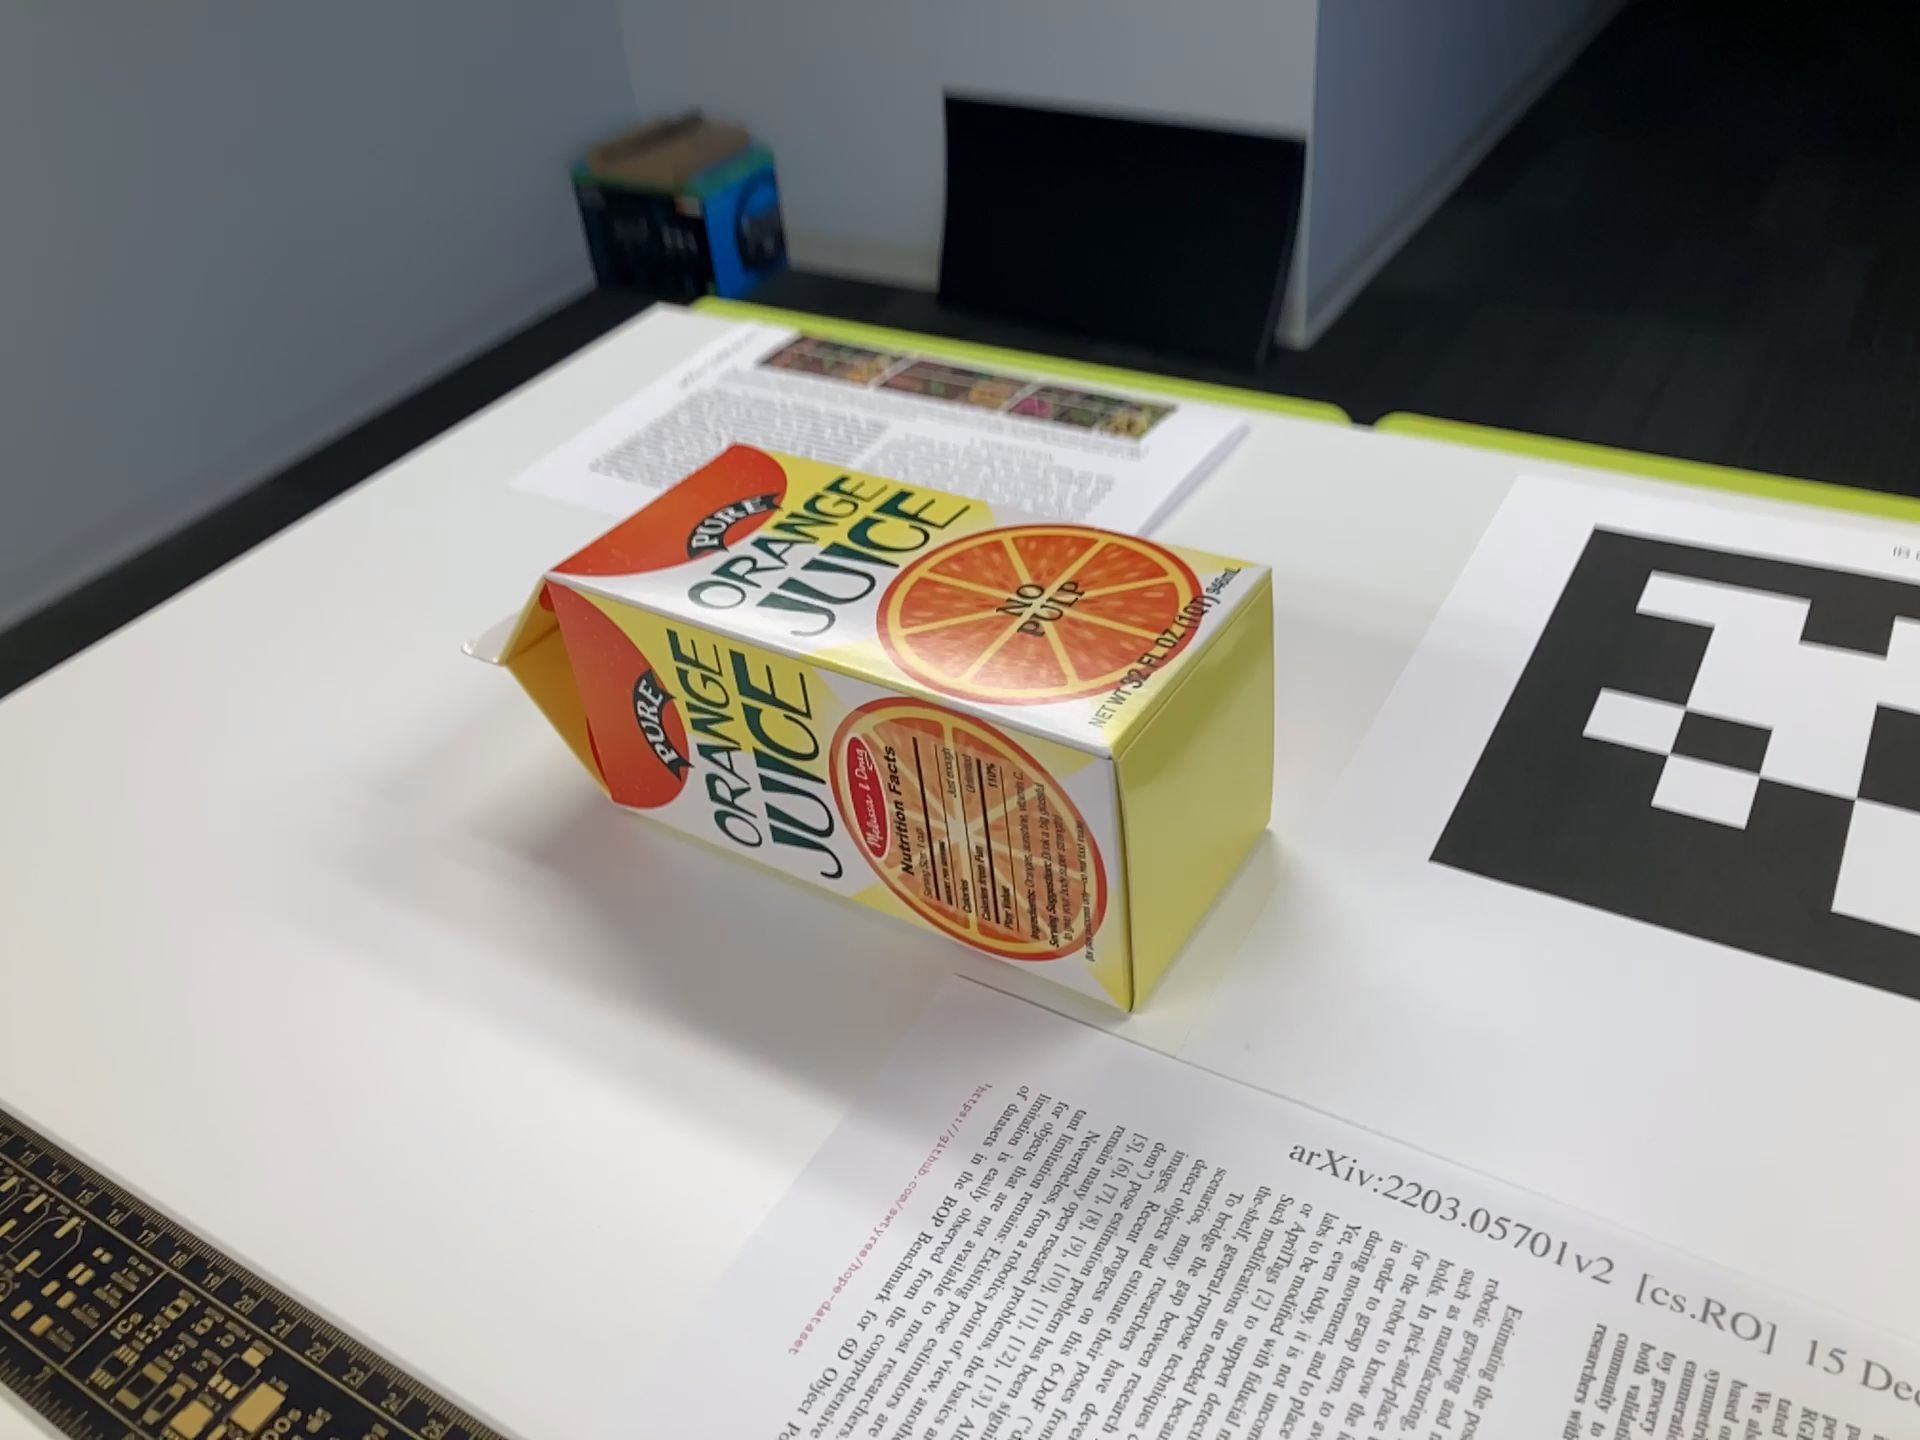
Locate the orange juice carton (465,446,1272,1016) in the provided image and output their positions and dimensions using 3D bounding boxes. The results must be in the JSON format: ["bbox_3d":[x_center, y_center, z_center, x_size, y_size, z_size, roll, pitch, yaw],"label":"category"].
[{"bbox_3d":[-0.028,-0.009,0.381,0.192,0.073,0.072,18,44,29],"label":"orange juice carton"}]
